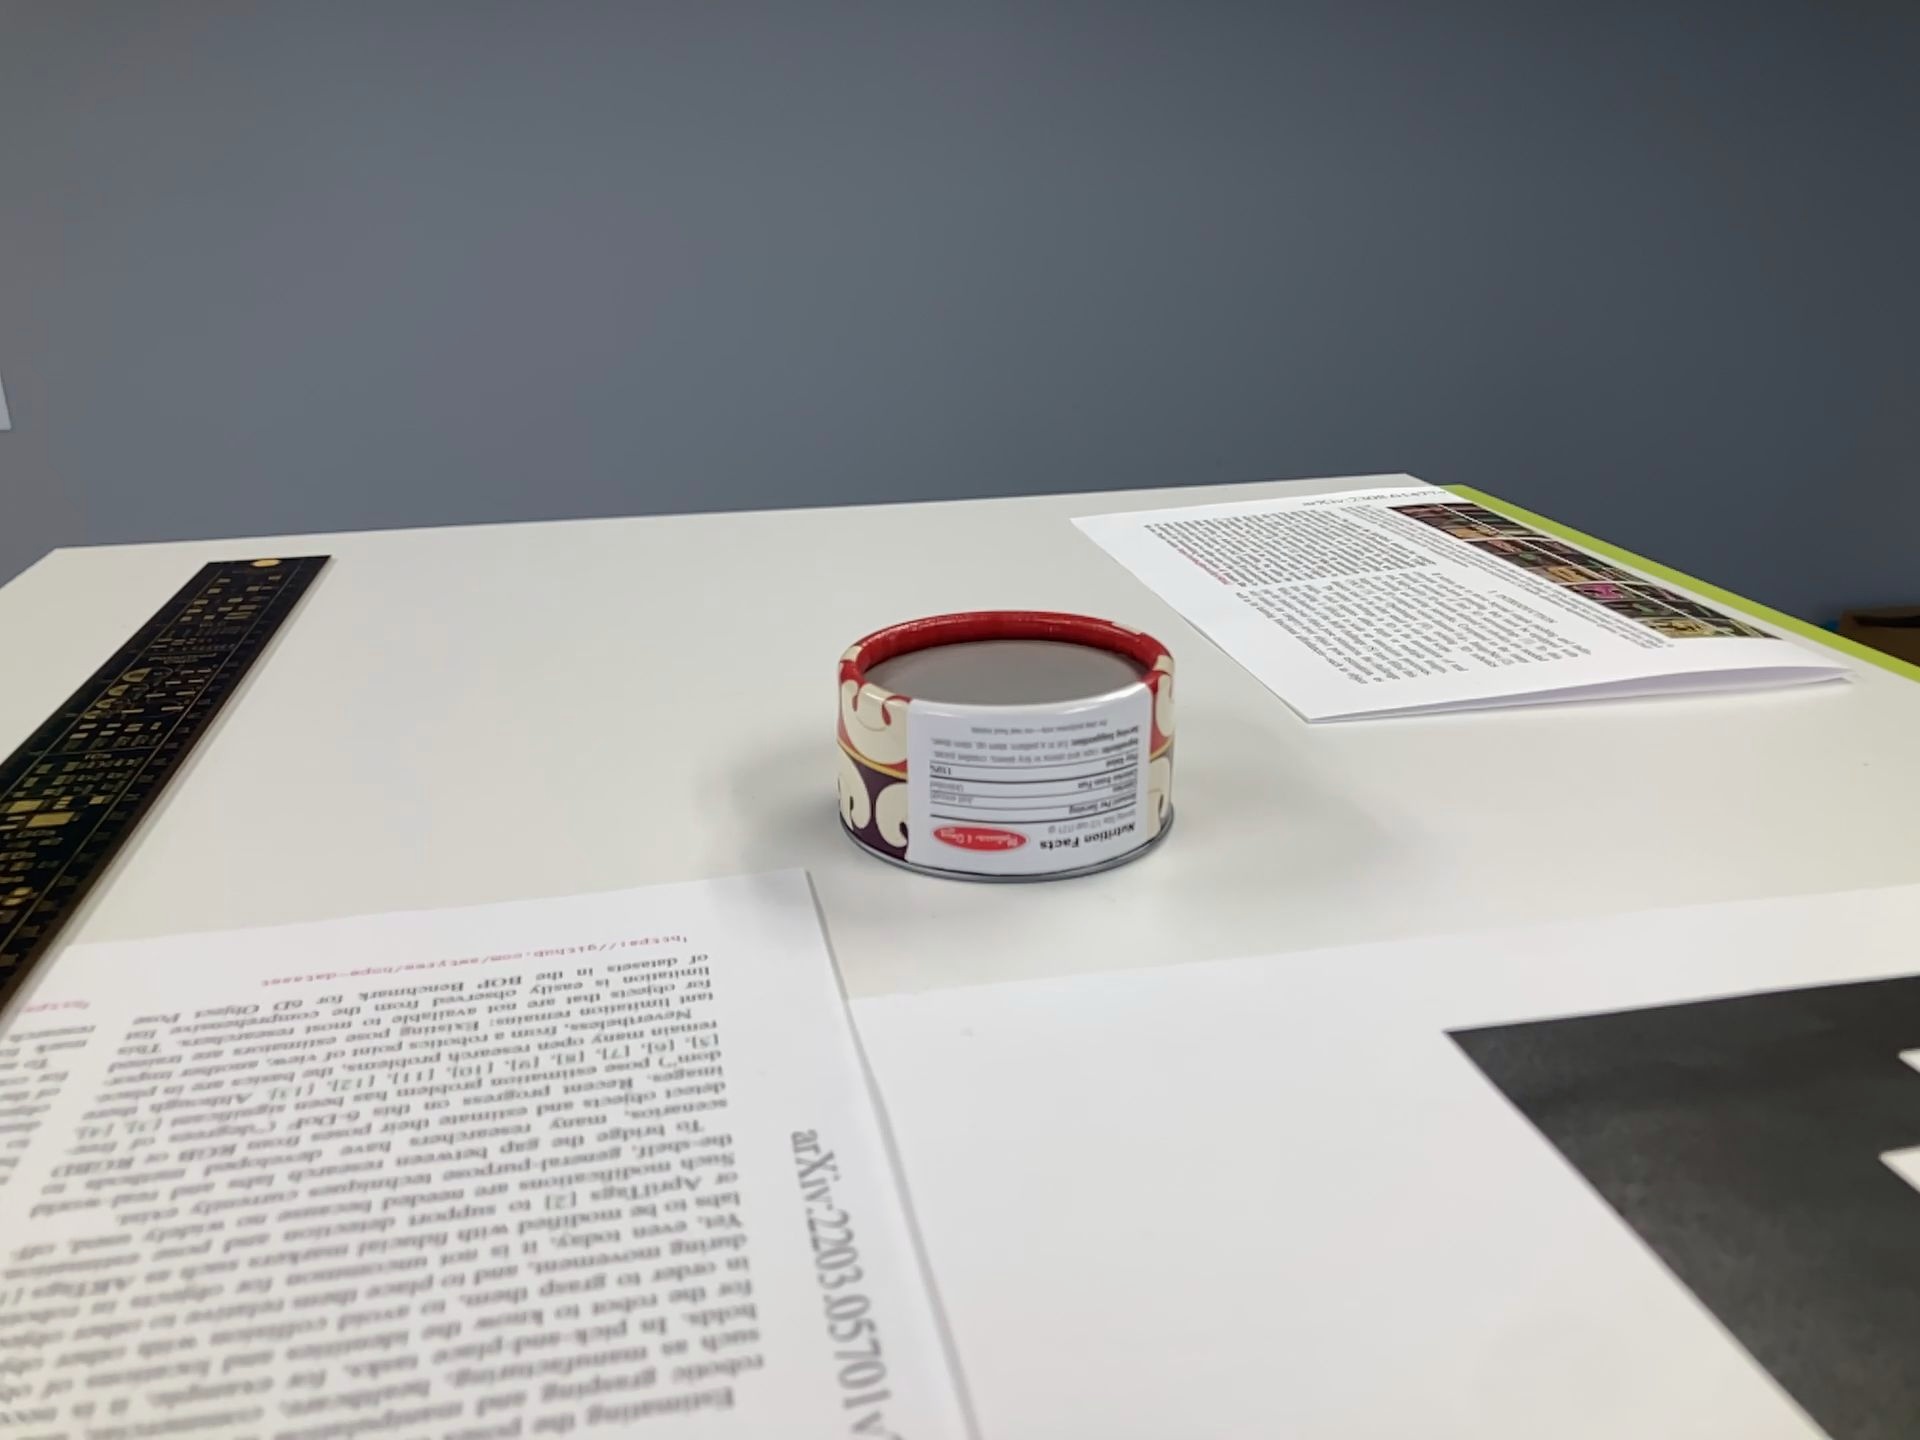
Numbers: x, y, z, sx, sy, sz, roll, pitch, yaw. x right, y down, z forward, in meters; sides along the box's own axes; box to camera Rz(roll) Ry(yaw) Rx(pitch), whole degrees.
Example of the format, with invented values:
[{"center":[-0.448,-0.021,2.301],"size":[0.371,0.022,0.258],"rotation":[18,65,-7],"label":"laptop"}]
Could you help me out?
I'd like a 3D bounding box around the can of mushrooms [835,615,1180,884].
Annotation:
[{"center":[0.009,0.003,0.308],"size":[0.071,0.033,0.071],"rotation":[-1,19,1],"label":"can of mushrooms"}]
